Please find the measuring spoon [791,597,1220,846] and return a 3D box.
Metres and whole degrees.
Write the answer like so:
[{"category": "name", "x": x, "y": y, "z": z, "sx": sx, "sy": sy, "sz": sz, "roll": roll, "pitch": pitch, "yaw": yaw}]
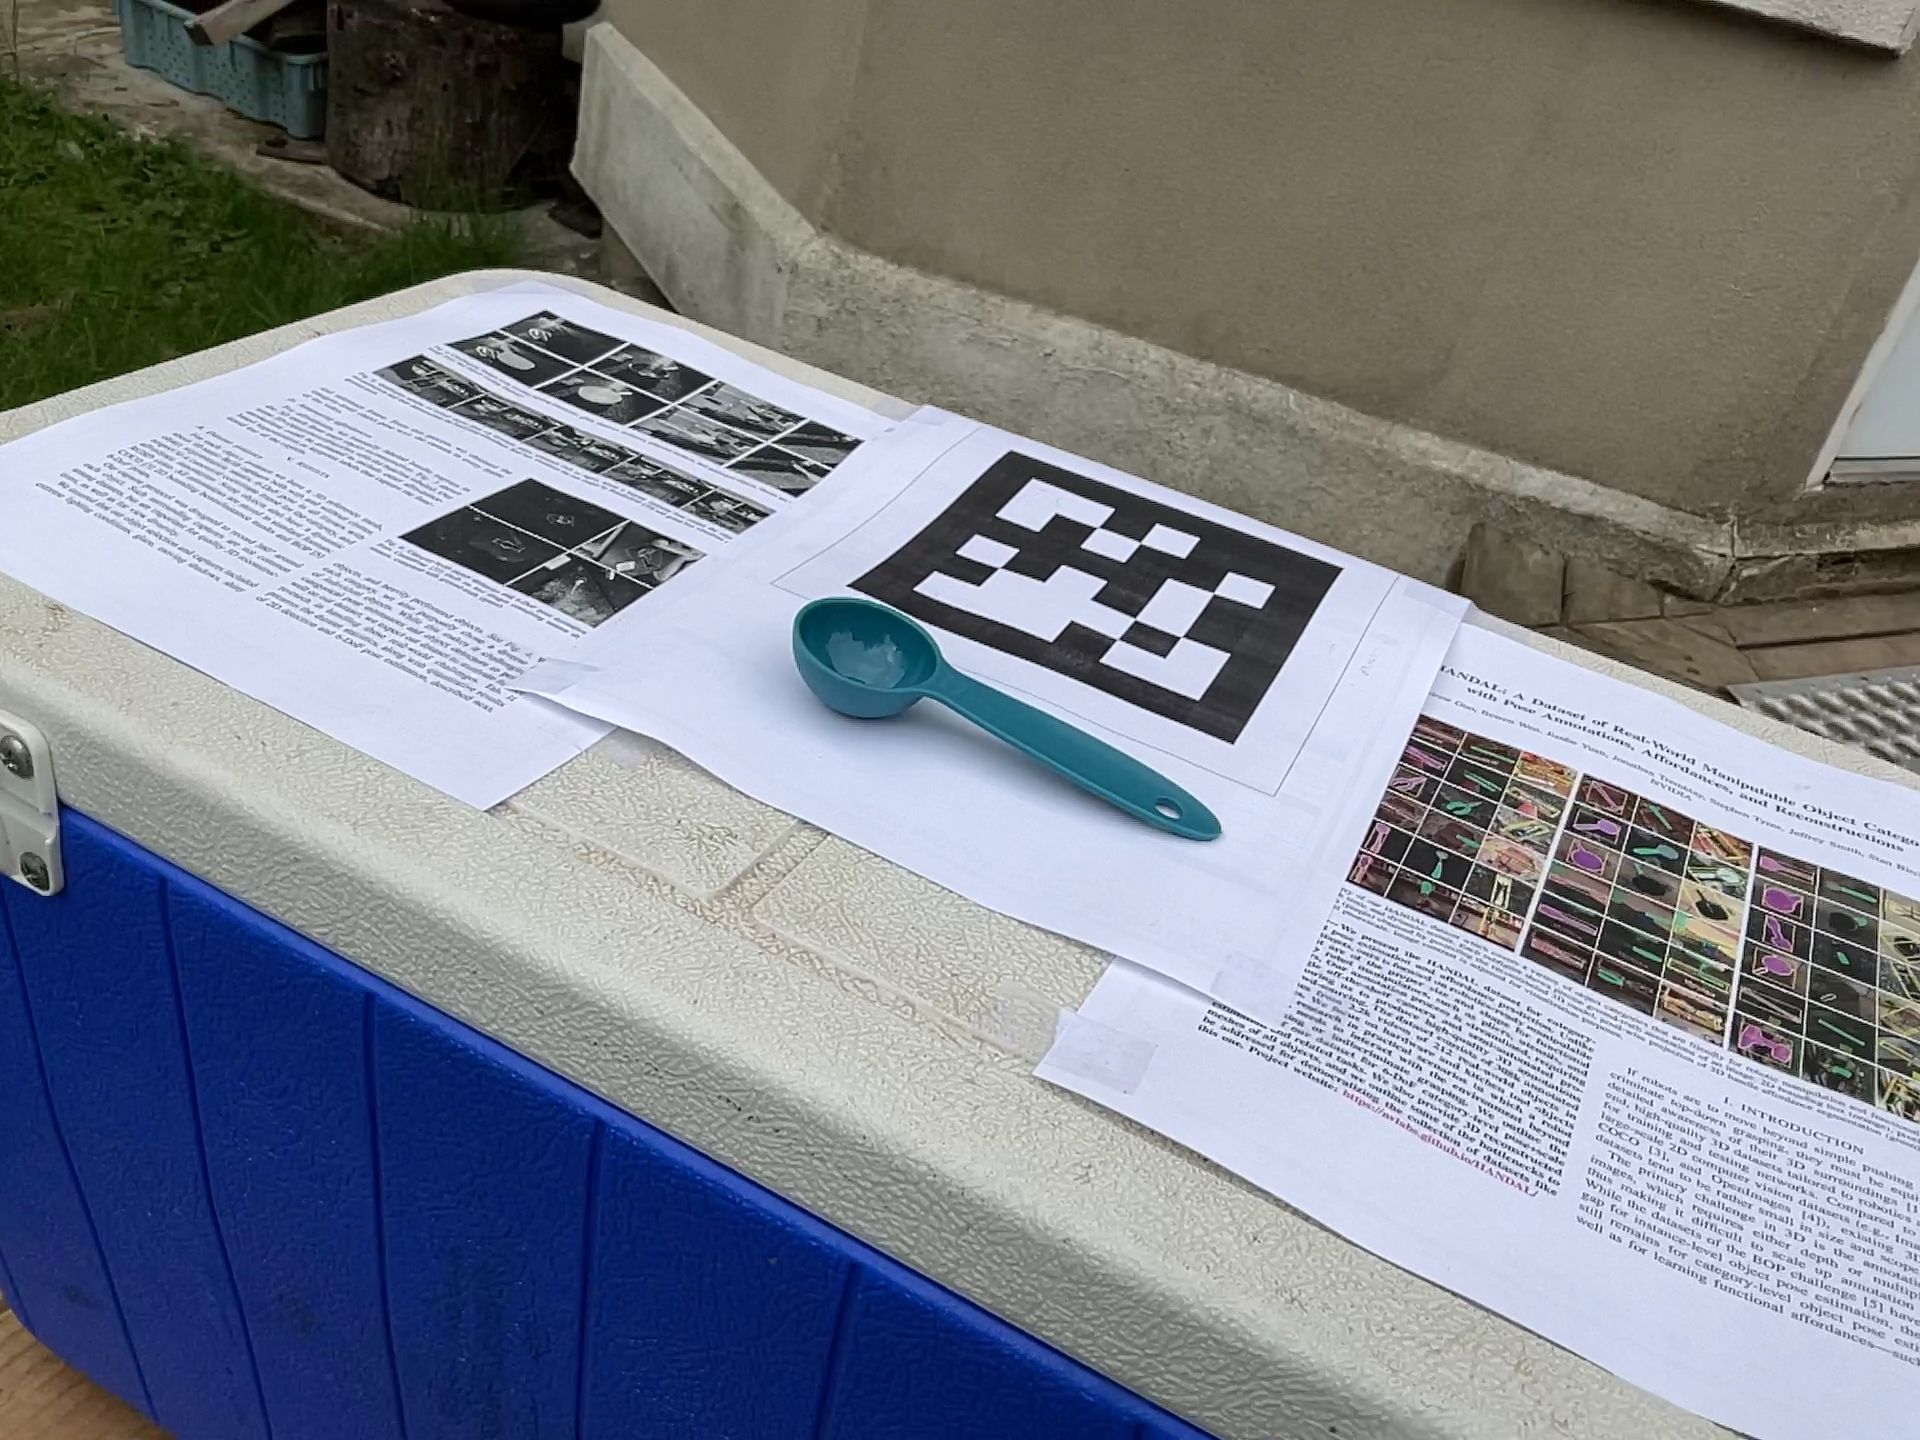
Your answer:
[{"category": "measuring spoon", "x": 0.010, "y": 0.007, "z": 0.435, "sx": 0.128, "sy": 0.021, "sz": 0.042, "roll": 29, "pitch": 35, "yaw": 7}]
